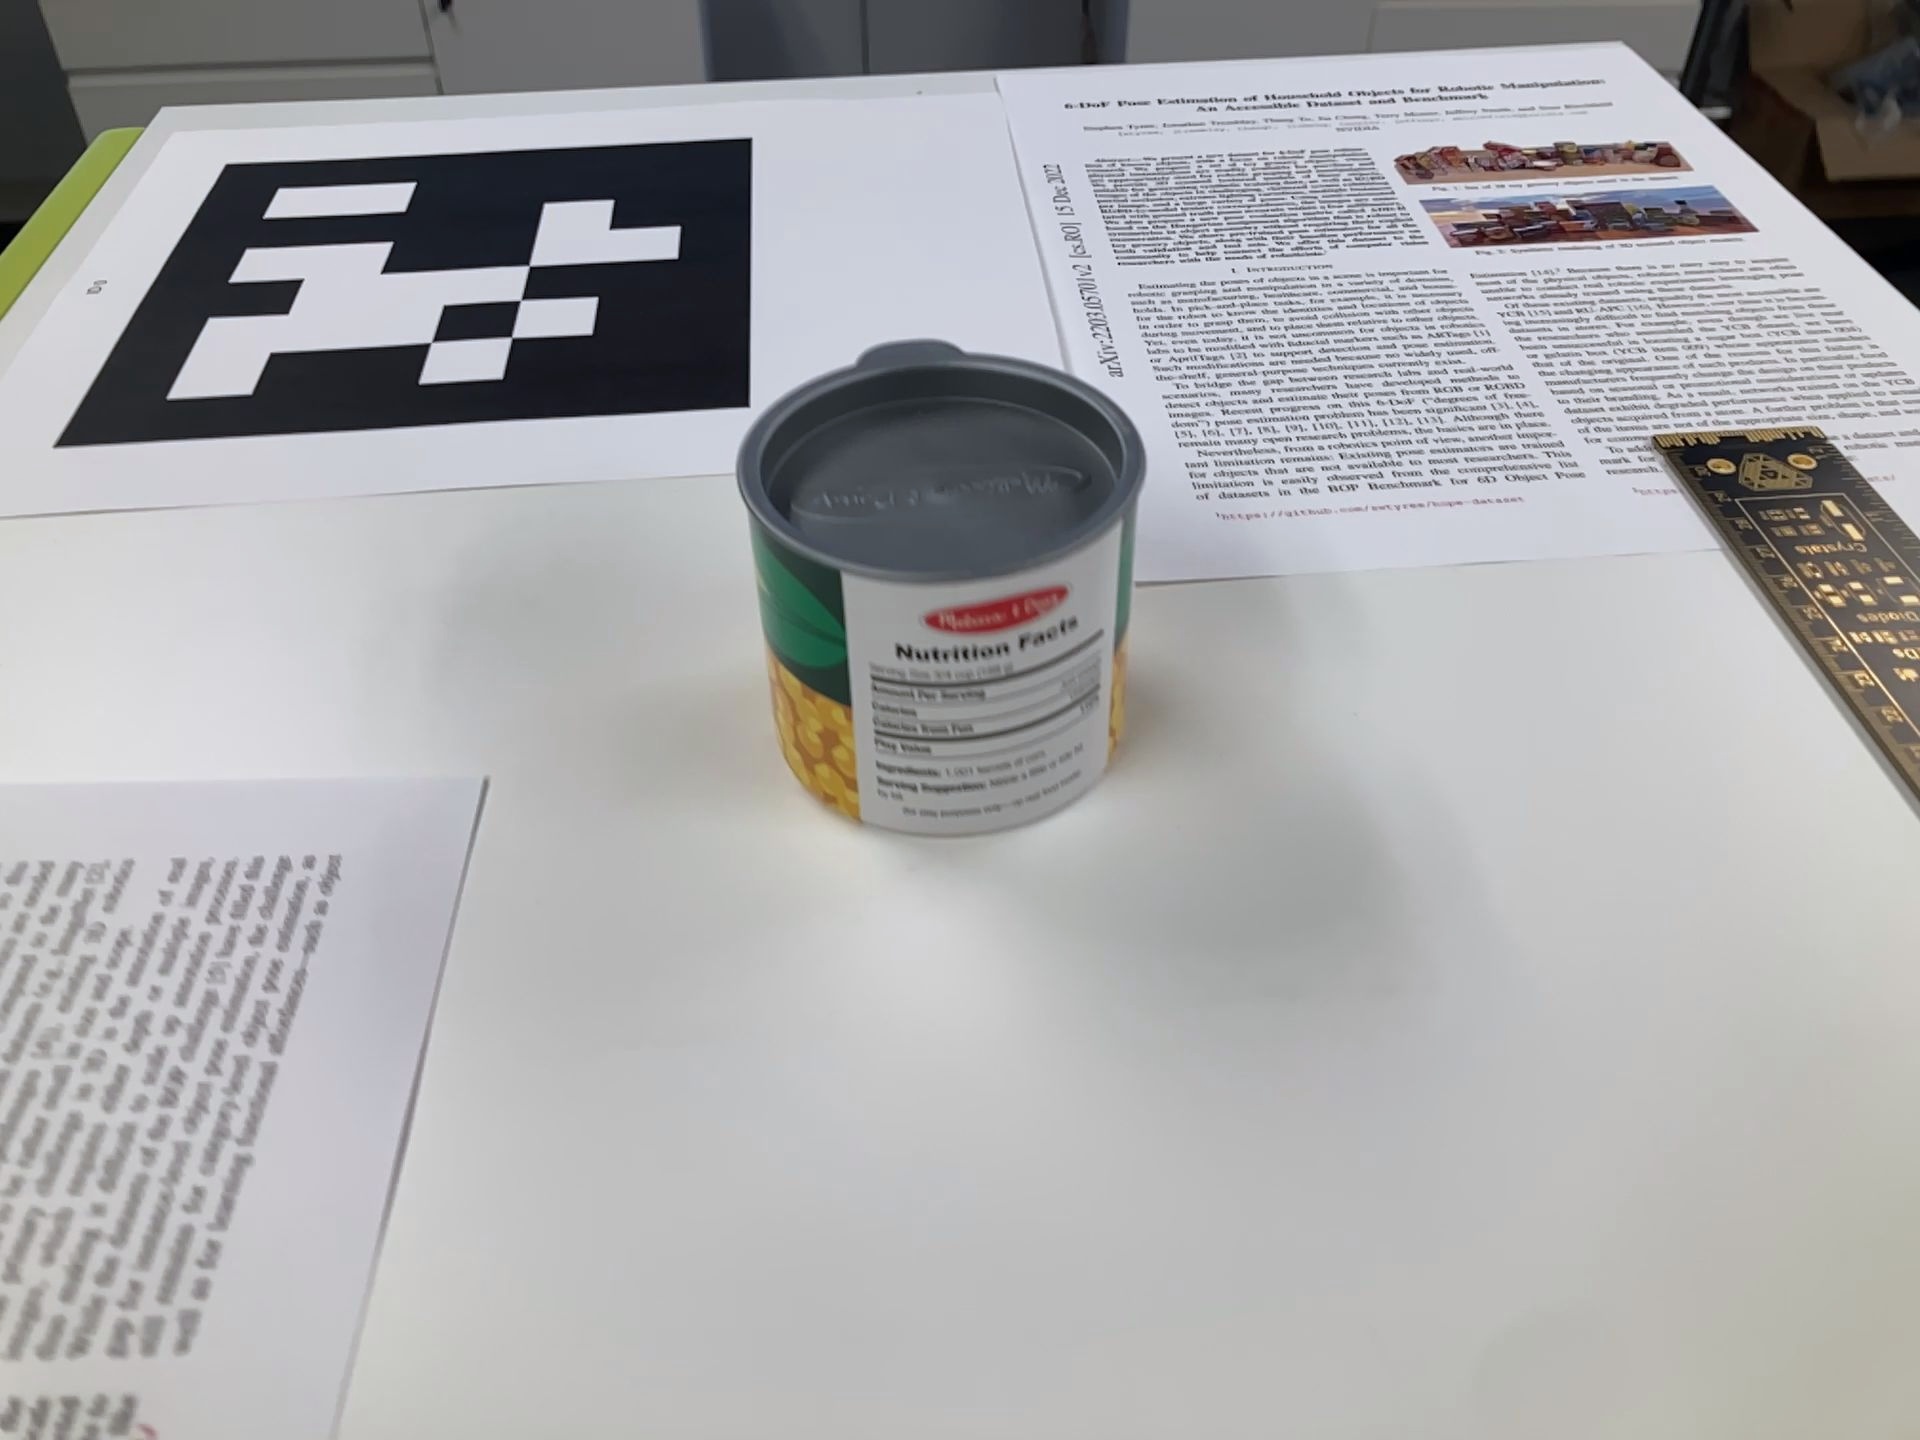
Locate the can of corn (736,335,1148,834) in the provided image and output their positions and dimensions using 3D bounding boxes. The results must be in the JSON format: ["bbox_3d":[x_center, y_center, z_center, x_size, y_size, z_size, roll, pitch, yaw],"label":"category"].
[{"bbox_3d":[-0.003,-0.025,0.277,0.071,0.058,0.071,-1,41,1],"label":"can of corn"}]
